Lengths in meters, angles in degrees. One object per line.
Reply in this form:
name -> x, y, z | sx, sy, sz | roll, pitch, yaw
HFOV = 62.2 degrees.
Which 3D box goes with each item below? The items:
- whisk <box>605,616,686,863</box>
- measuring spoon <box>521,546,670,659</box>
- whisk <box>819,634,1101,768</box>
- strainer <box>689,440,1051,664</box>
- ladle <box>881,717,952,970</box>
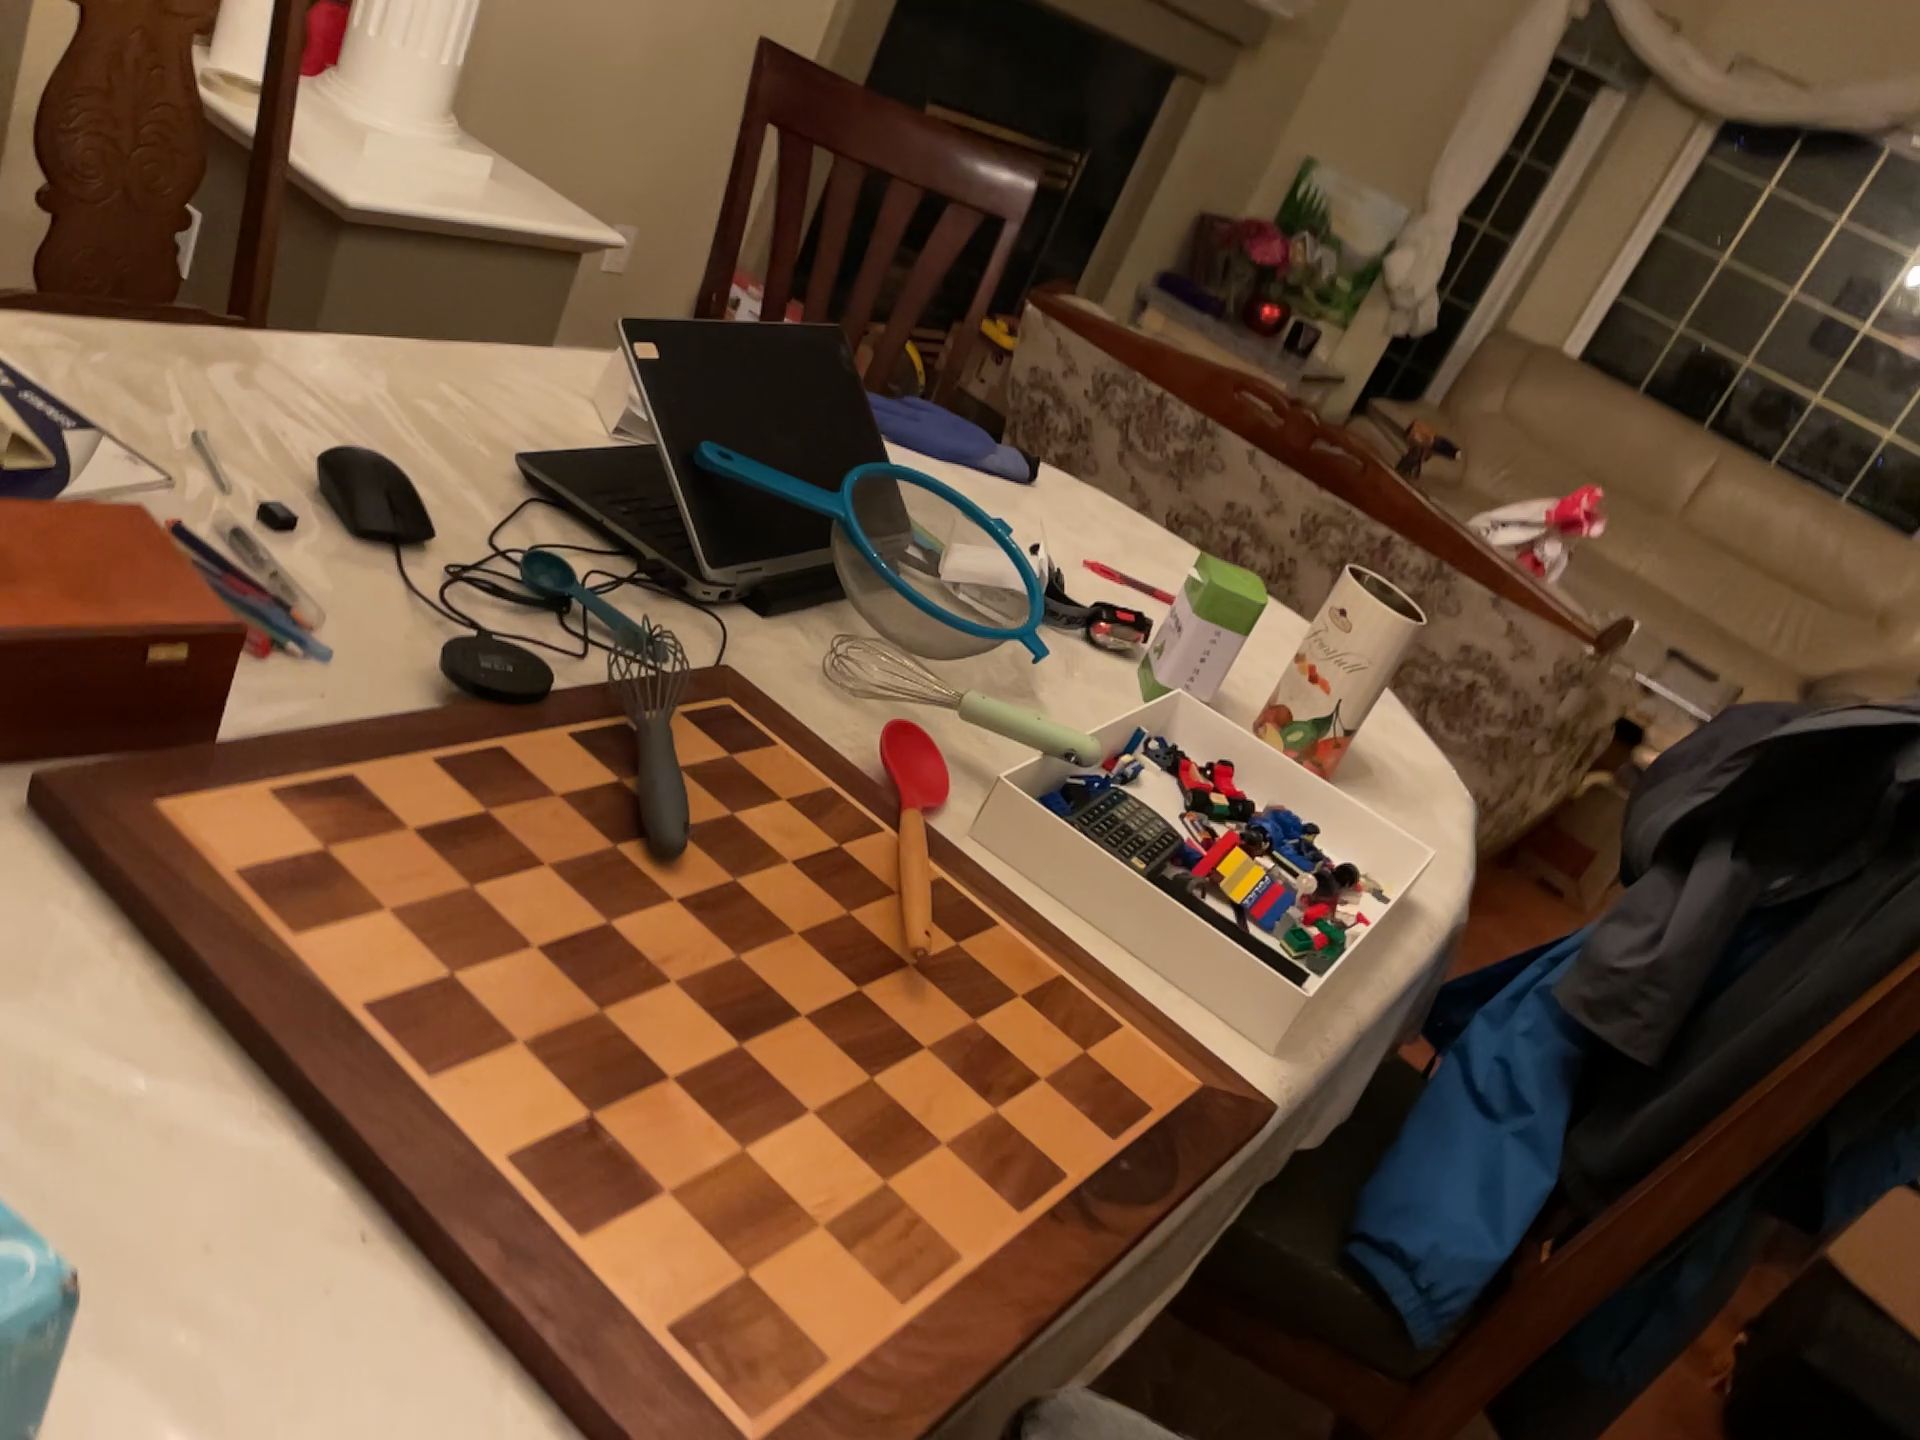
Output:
whisk -> -0.192, 0.009, 0.989 | 0.055, 0.055, 0.239 | 3, 35, -17
measuring spoon -> -0.267, -0.079, 1.160 | 0.128, 0.021, 0.042 | 37, 31, -7
whisk -> -0.003, -0.015, 1.209 | 0.246, 0.057, 0.059 | 22, 50, 24
strainer -> -0.089, -0.140, 1.354 | 0.340, 0.095, 0.211 | 19, 37, -28
ladle -> -0.029, 0.076, 1.031 | 0.069, 0.031, 0.315 | 44, 14, -17
